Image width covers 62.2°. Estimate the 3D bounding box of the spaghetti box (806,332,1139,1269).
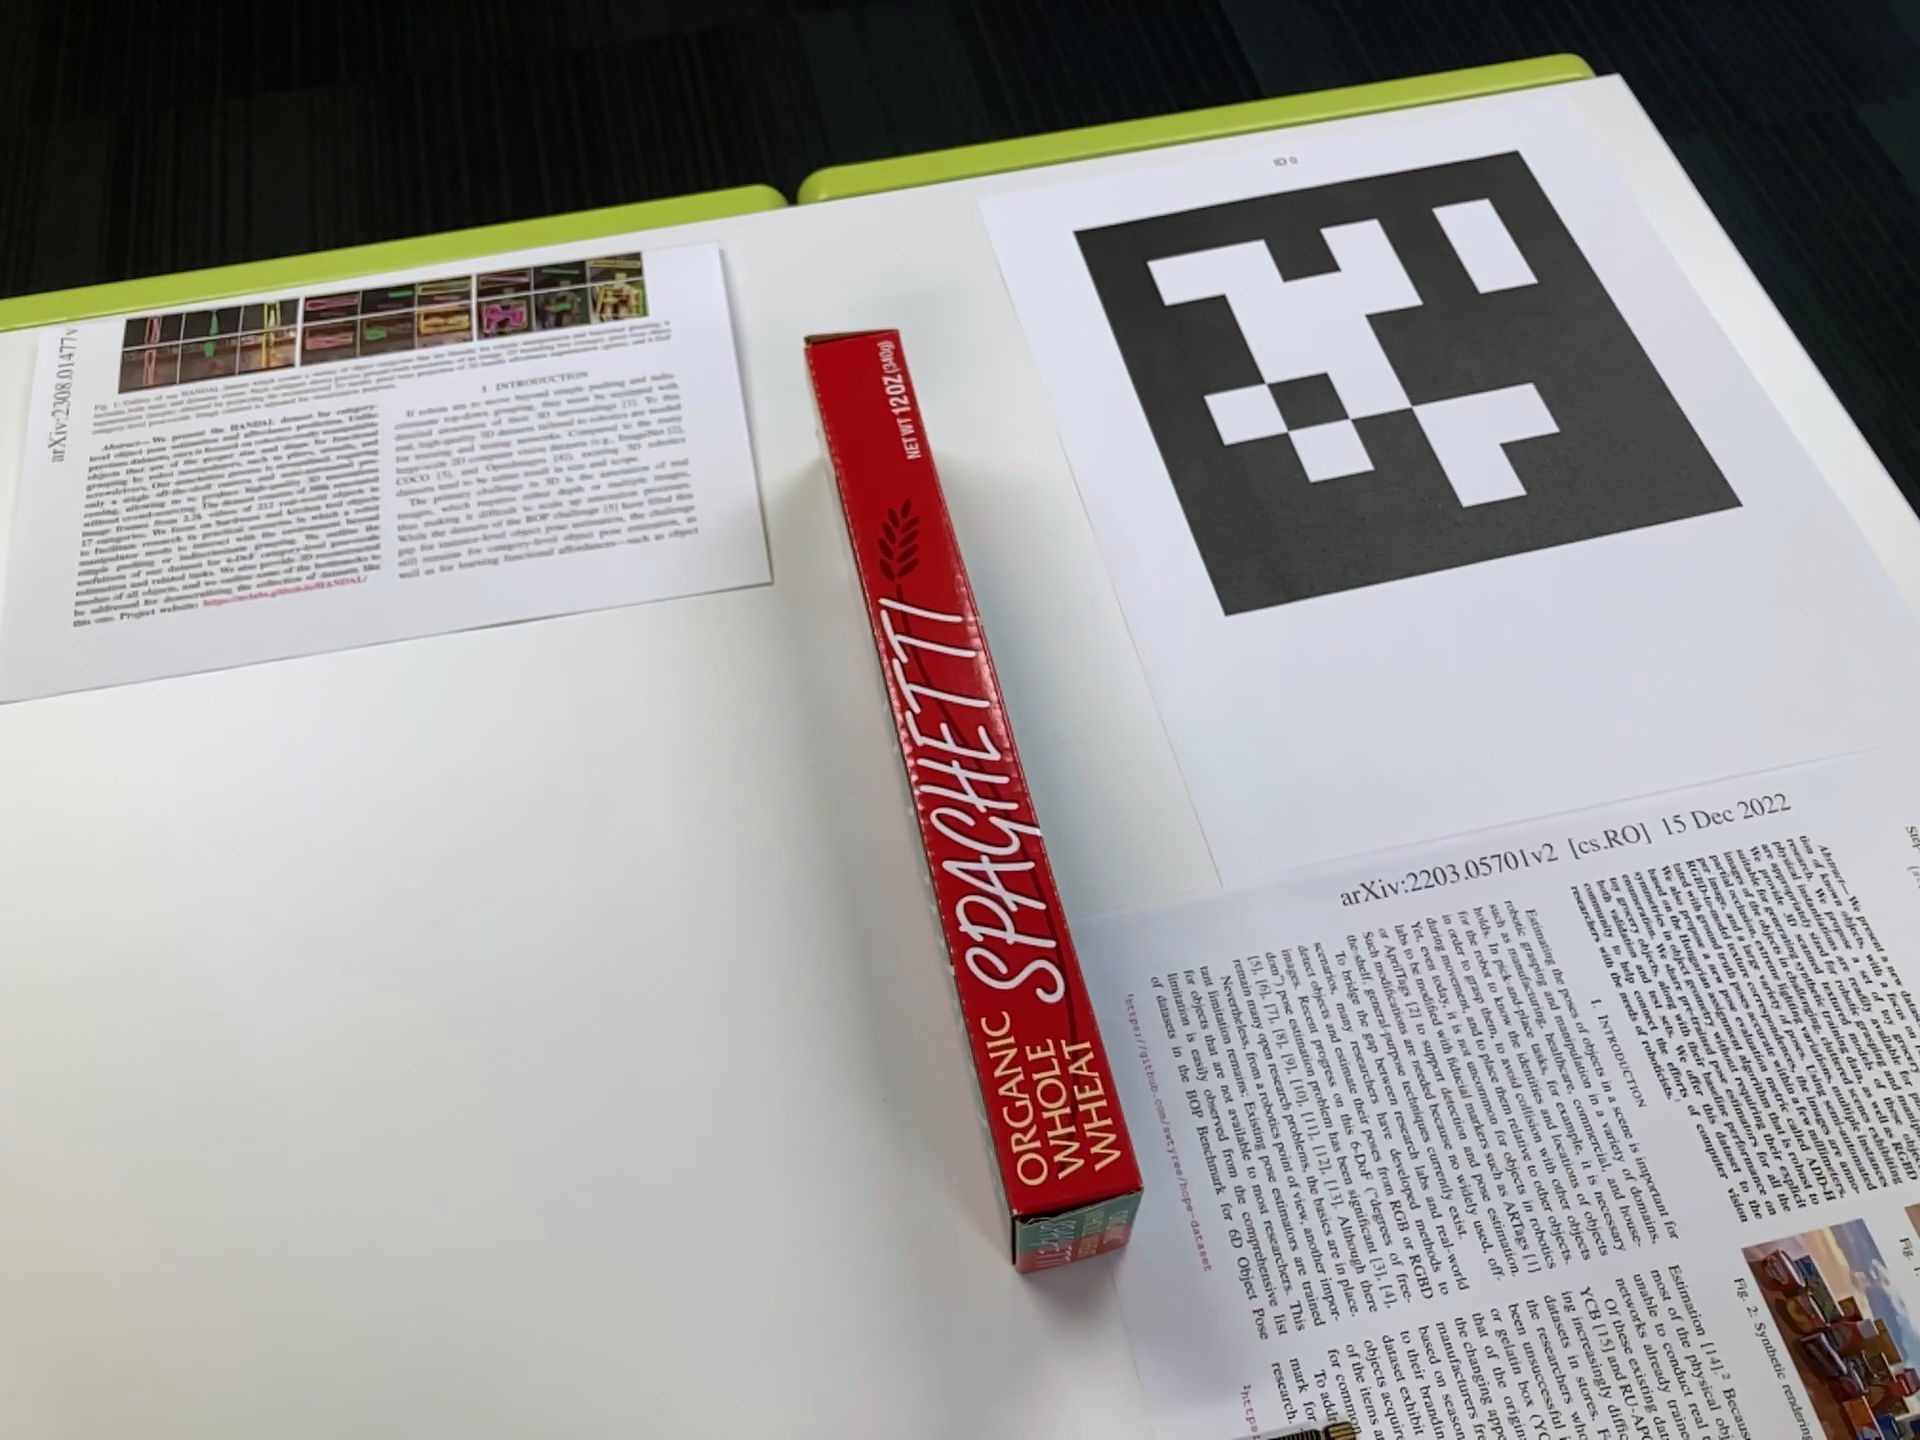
[{"bbox_3d":[-0.002,0.008,0.405,0.028,0.050,0.250,-12,60,-4],"label":"spaghetti box"}]
